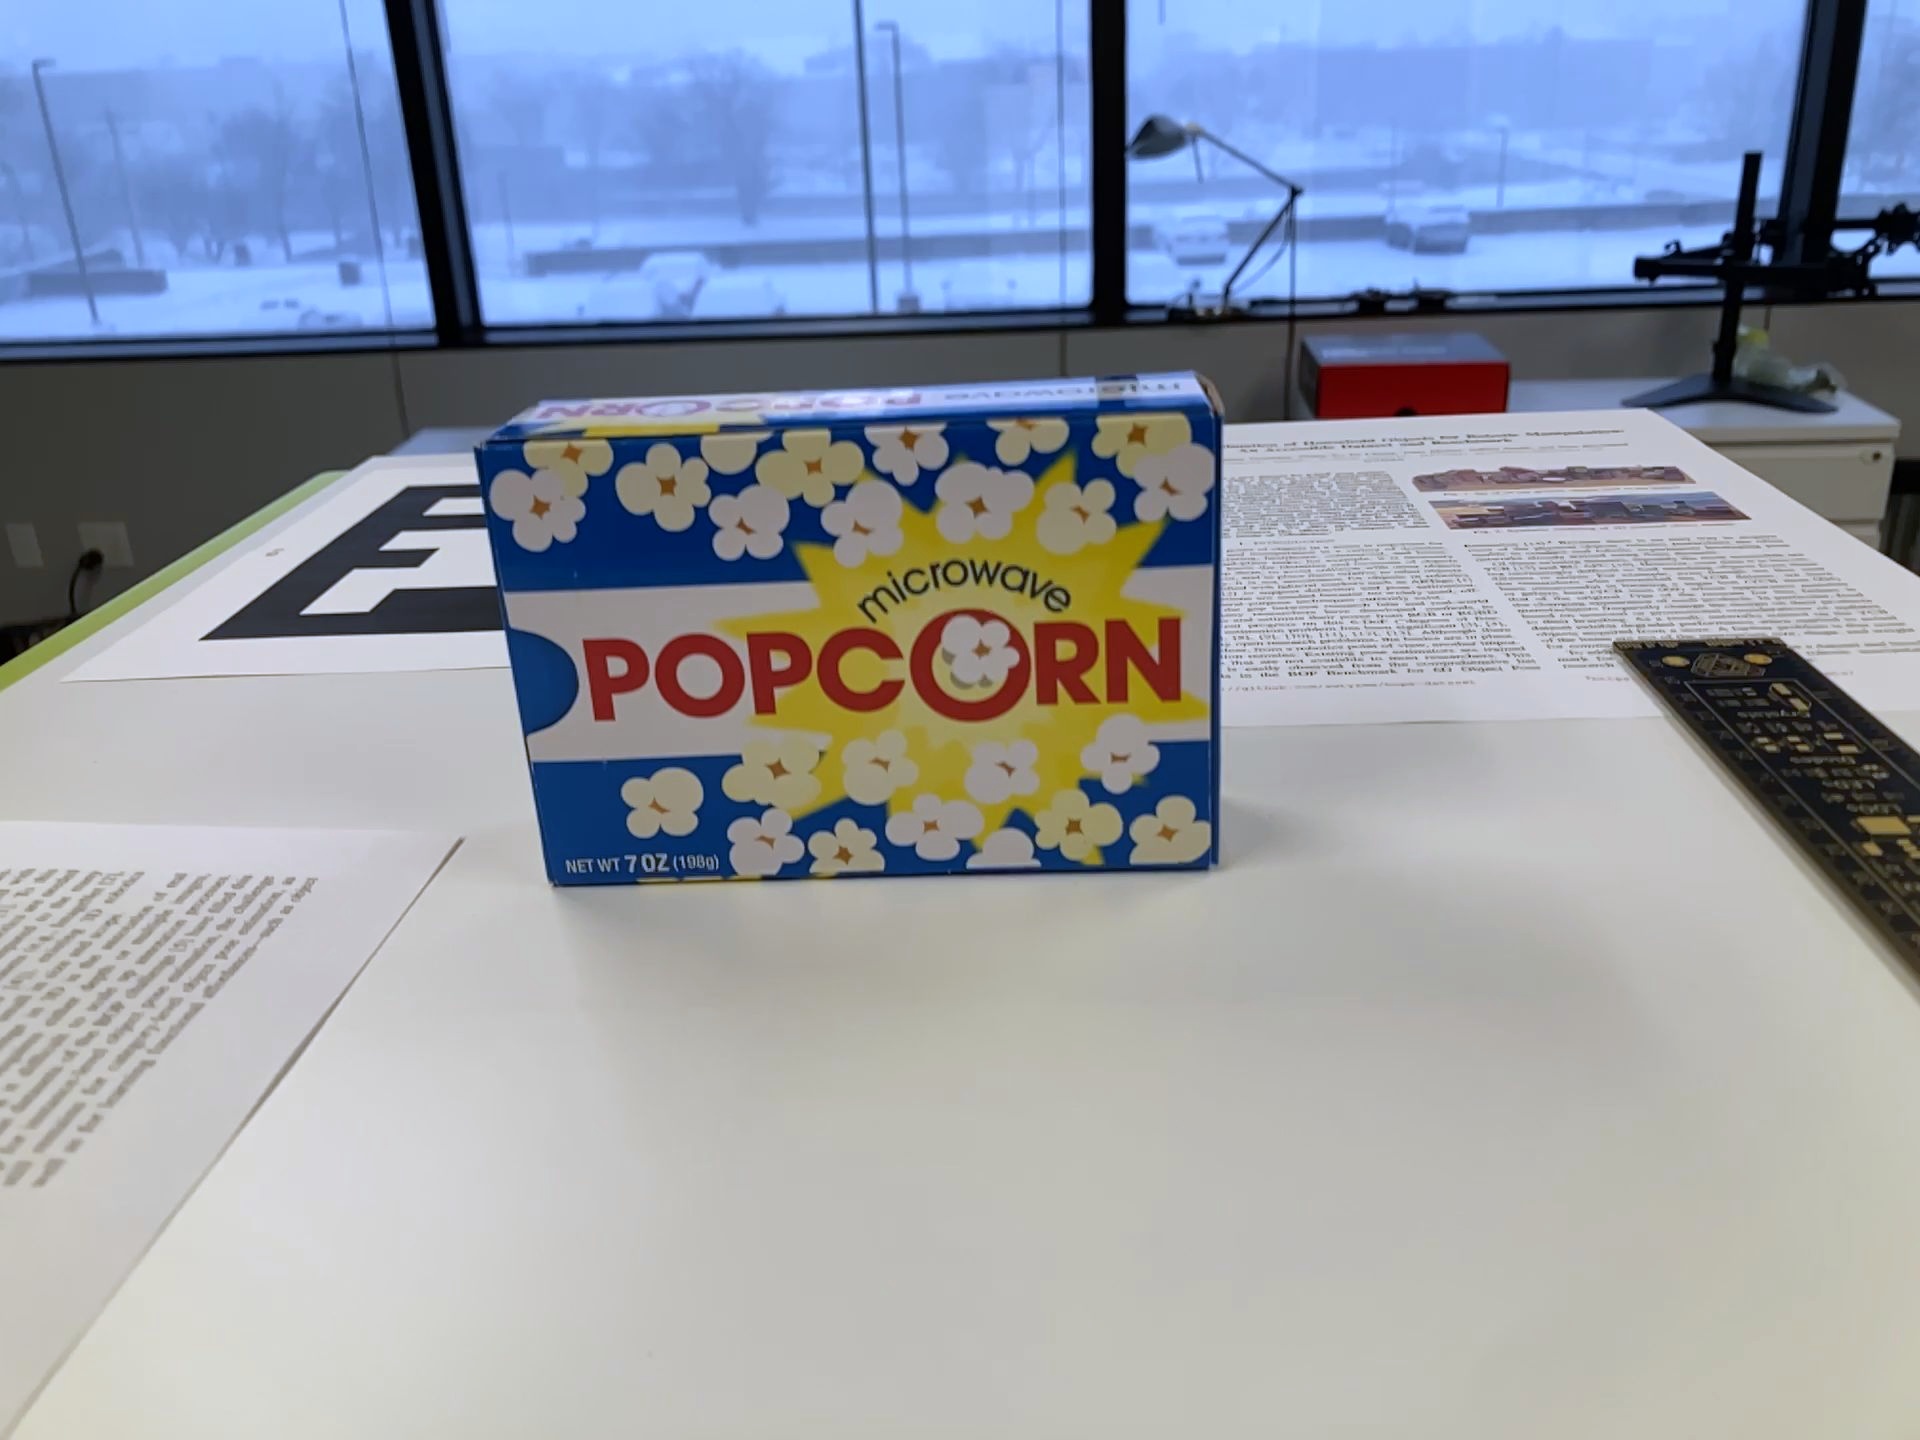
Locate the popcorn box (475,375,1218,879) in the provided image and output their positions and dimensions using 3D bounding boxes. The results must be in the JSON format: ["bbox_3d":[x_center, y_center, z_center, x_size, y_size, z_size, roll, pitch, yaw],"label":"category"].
[{"bbox_3d":[-0.016,-0.017,0.295,0.126,0.085,0.038,-2,22,4],"label":"popcorn box"}]
